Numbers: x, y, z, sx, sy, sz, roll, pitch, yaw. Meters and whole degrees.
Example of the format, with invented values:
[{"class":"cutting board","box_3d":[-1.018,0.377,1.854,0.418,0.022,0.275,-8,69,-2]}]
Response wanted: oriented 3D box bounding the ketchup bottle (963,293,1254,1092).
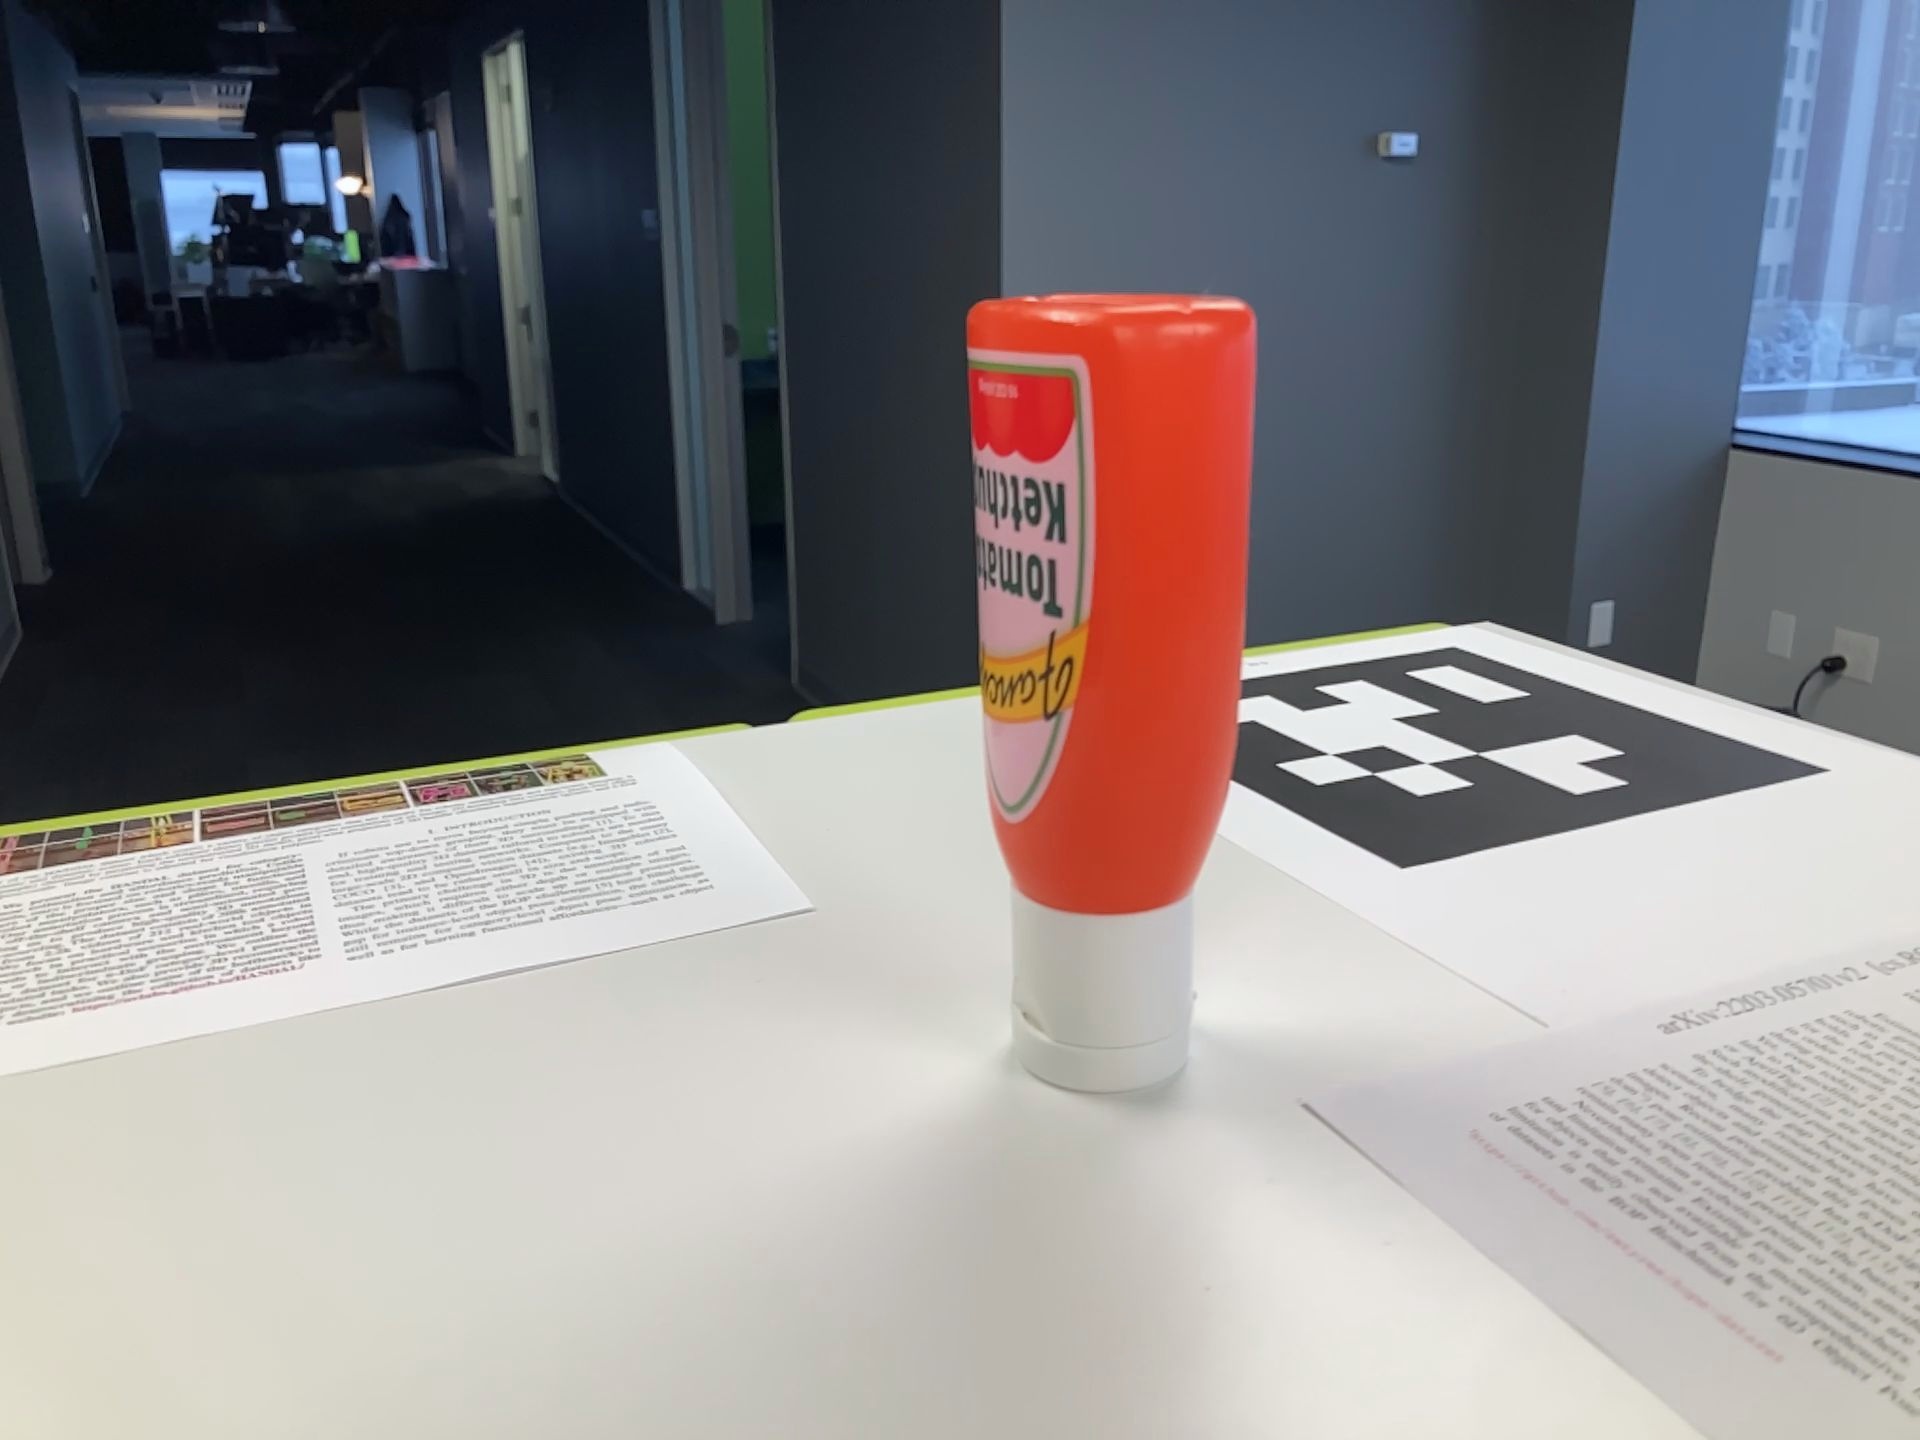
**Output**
[{"class":"ketchup bottle","box_3d":[0.027,-0.004,0.301,0.043,0.149,0.065,-9,17,-22]}]
